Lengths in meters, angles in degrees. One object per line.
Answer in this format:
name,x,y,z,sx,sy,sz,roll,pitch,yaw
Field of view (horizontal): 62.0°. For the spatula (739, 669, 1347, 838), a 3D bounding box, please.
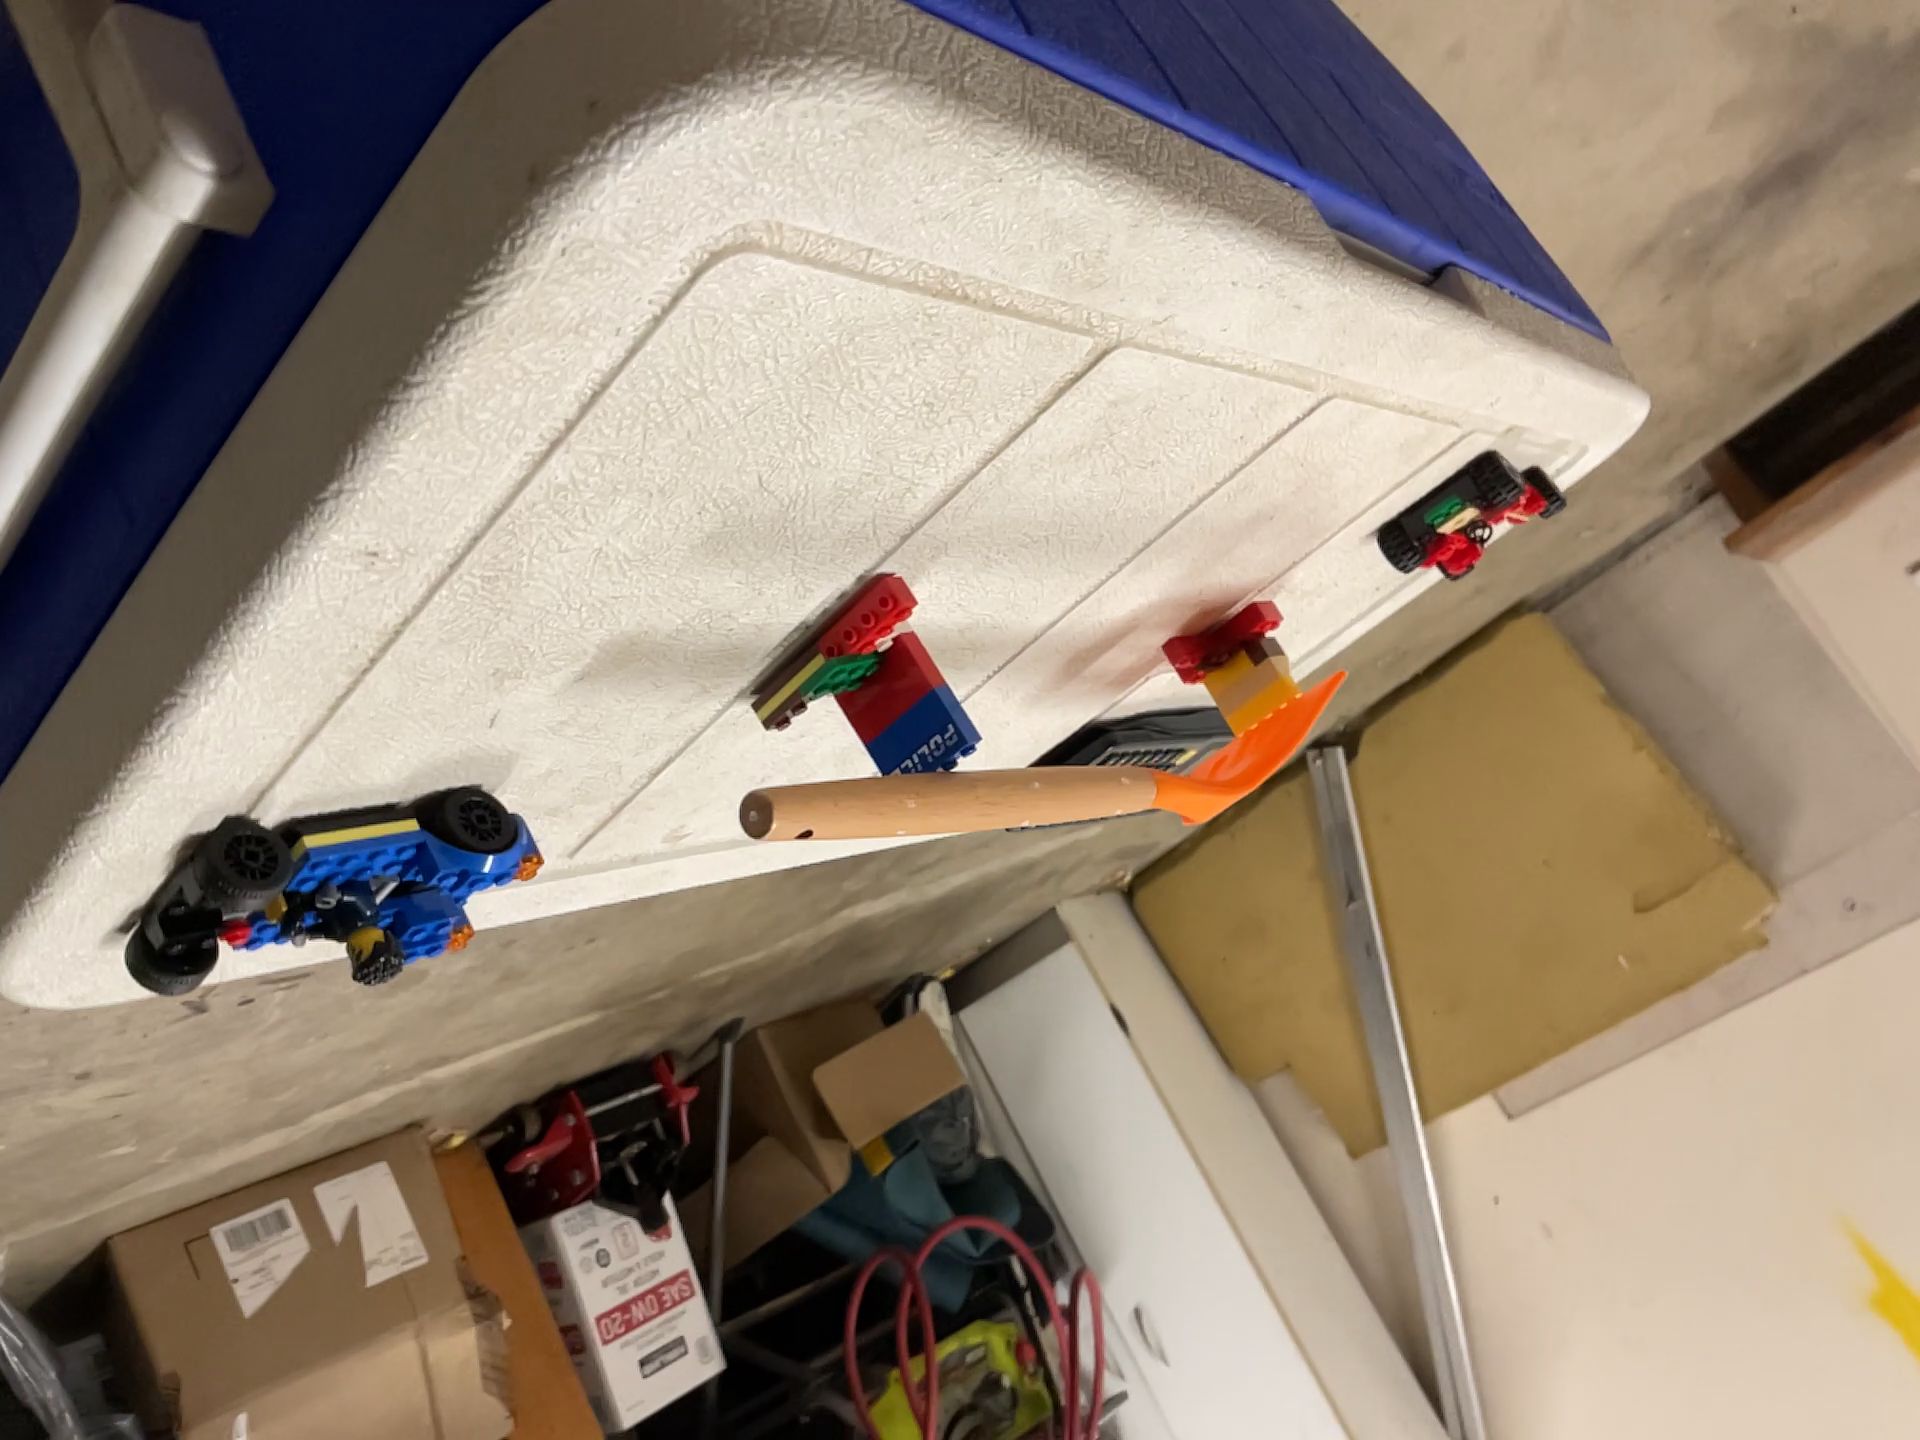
spatula,0.042,0.015,0.530,0.081,0.041,0.322,-38,158,31
